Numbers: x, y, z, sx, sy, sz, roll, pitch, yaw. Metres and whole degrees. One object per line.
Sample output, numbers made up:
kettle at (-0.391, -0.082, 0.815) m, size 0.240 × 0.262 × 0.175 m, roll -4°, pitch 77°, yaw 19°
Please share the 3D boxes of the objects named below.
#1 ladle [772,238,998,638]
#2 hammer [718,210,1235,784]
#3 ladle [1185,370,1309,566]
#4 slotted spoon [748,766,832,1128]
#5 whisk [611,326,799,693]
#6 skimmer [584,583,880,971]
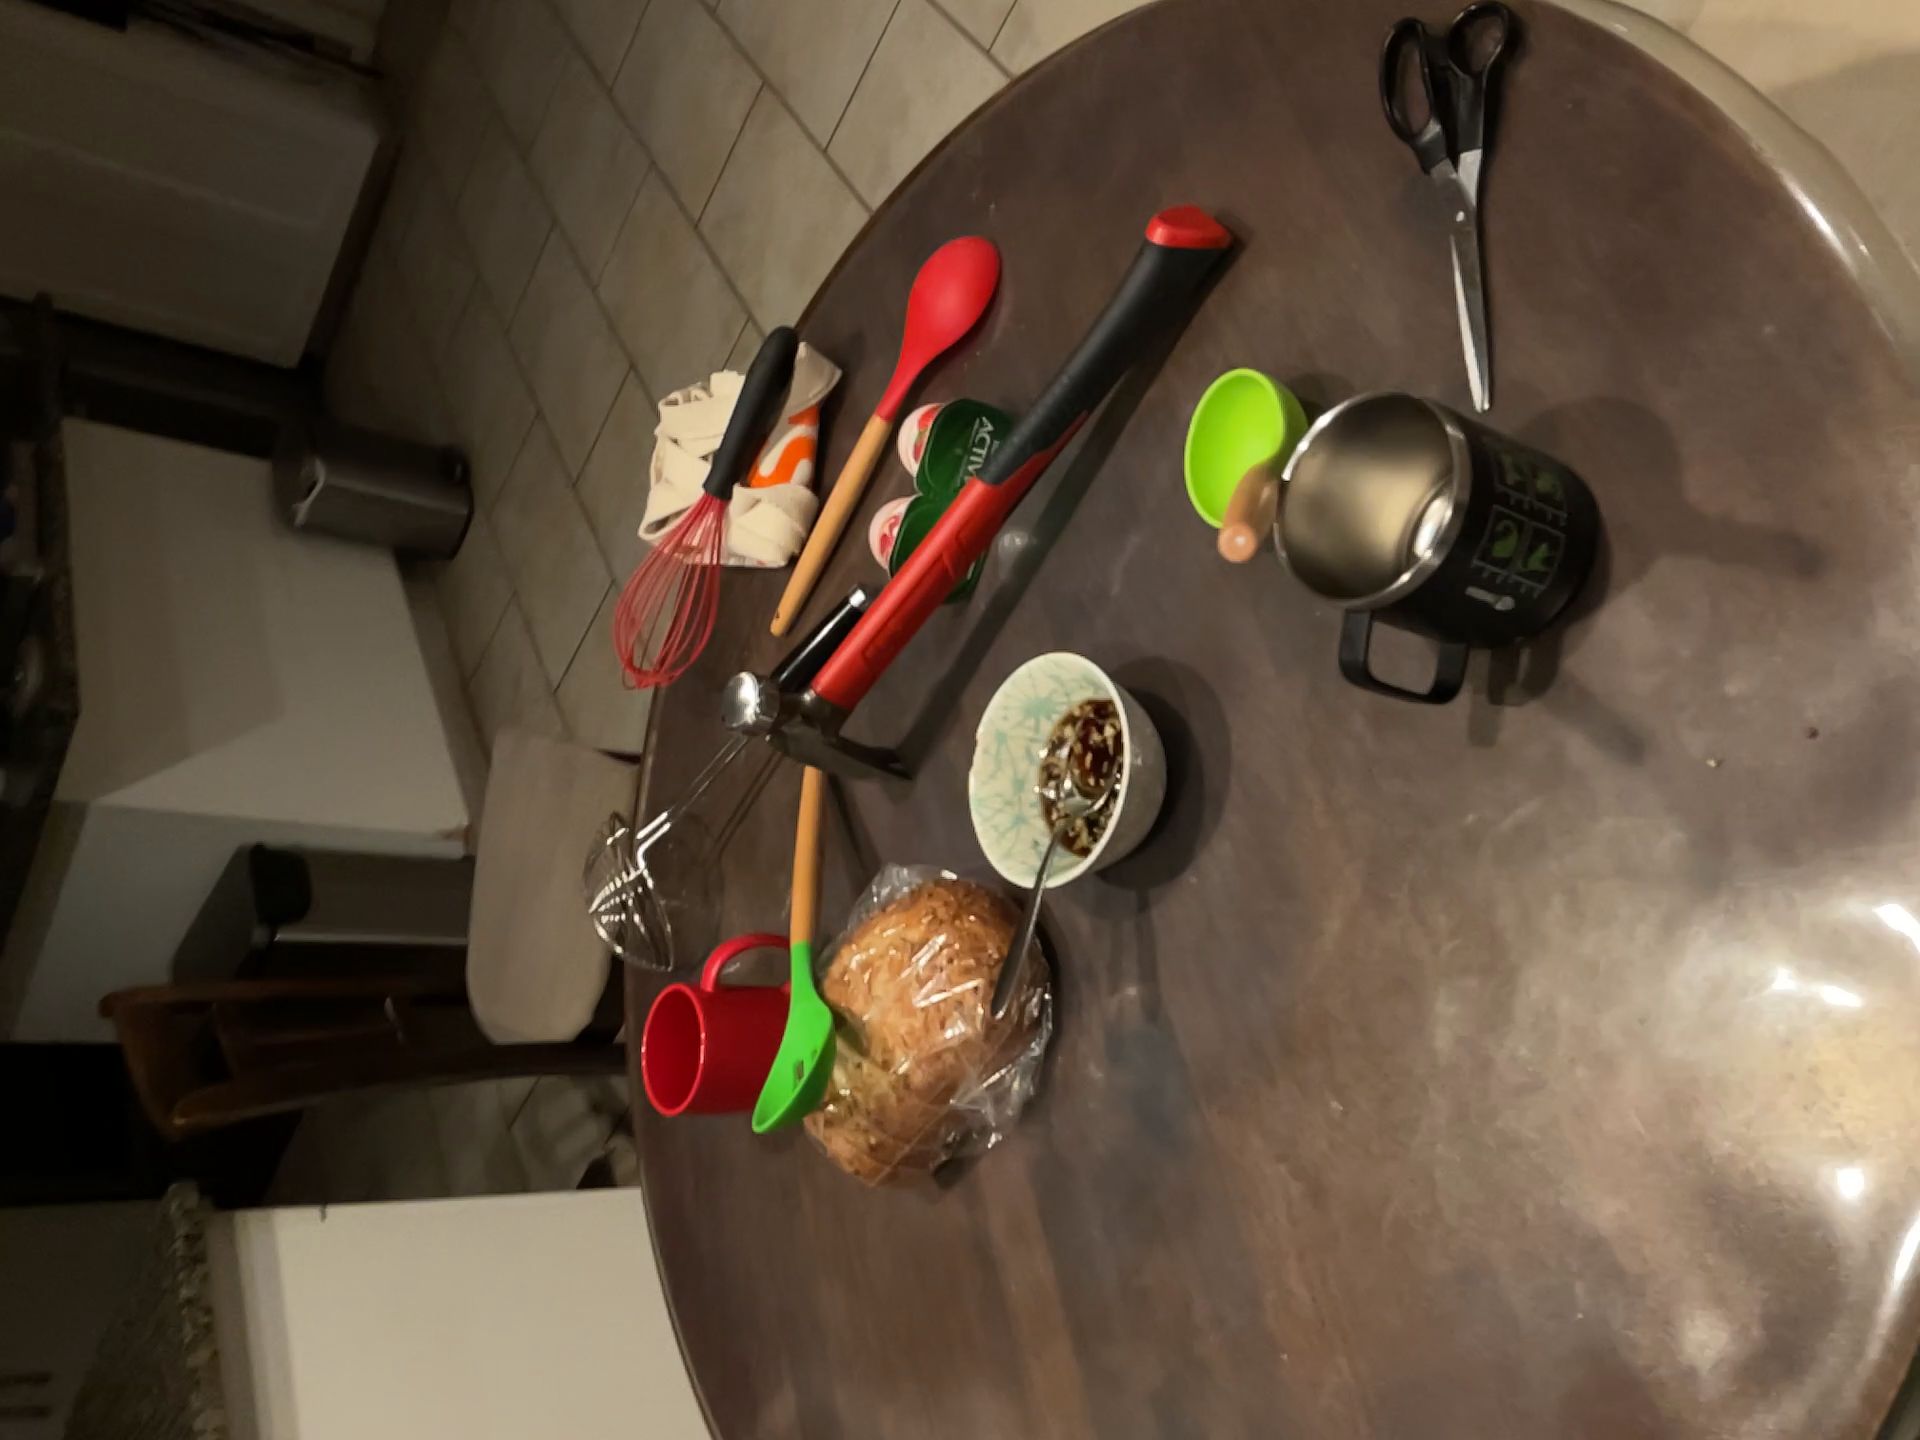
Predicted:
ladle at (-0.062, -0.184, 1.074) m, size 0.315 × 0.031 × 0.069 m, roll -60°, pitch 42°, yaw 26°
hammer at (0.026, -0.118, 0.909) m, size 0.386 × 0.143 × 0.038 m, roll -49°, pitch 47°, yaw 17°
ladle at (0.113, -0.099, 0.657) m, size 0.062 × 0.320 × 0.078 m, roll 13°, pitch 107°, yaw 10°
slotted spoon at (-0.093, 0.118, 0.961) m, size 0.070 × 0.031 × 0.314 m, roll -46°, pitch 26°, yaw 29°
whisk at (-0.182, -0.146, 1.136) m, size 0.073 × 0.073 × 0.296 m, roll 50°, pitch 120°, yaw 46°
skimmer at (-0.156, 0.041, 1.139) m, size 0.363 × 0.090 × 0.127 m, roll -46°, pitch 56°, yaw 22°
